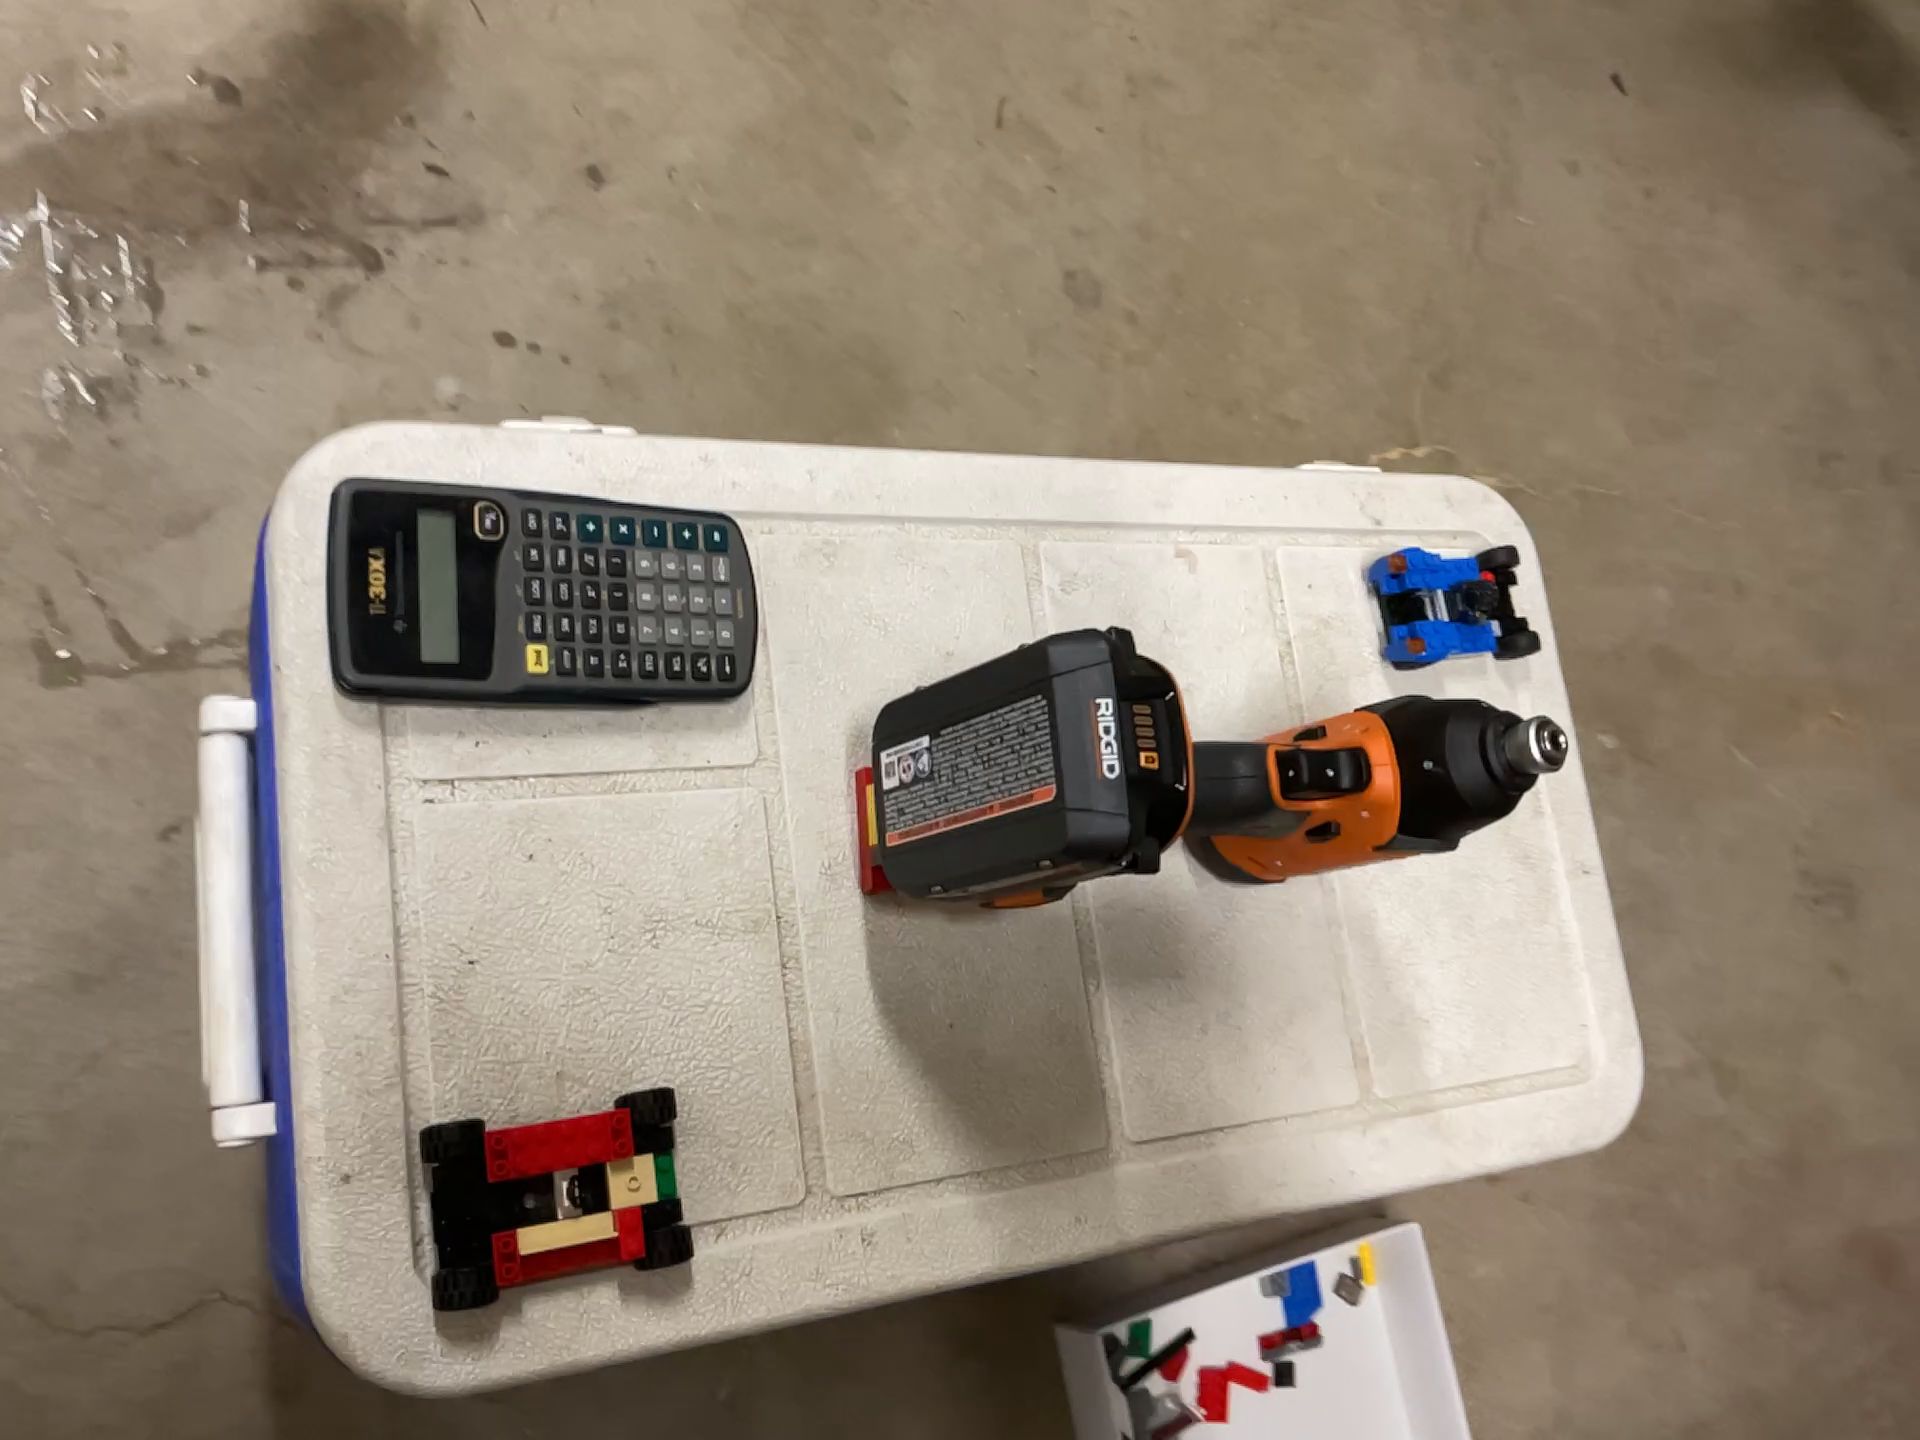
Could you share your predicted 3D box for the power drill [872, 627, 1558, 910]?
[{"bbox_3d":[0.101,0.021,0.595,0.226,0.164,0.084,4,74,-37],"label":"power drill"}]
